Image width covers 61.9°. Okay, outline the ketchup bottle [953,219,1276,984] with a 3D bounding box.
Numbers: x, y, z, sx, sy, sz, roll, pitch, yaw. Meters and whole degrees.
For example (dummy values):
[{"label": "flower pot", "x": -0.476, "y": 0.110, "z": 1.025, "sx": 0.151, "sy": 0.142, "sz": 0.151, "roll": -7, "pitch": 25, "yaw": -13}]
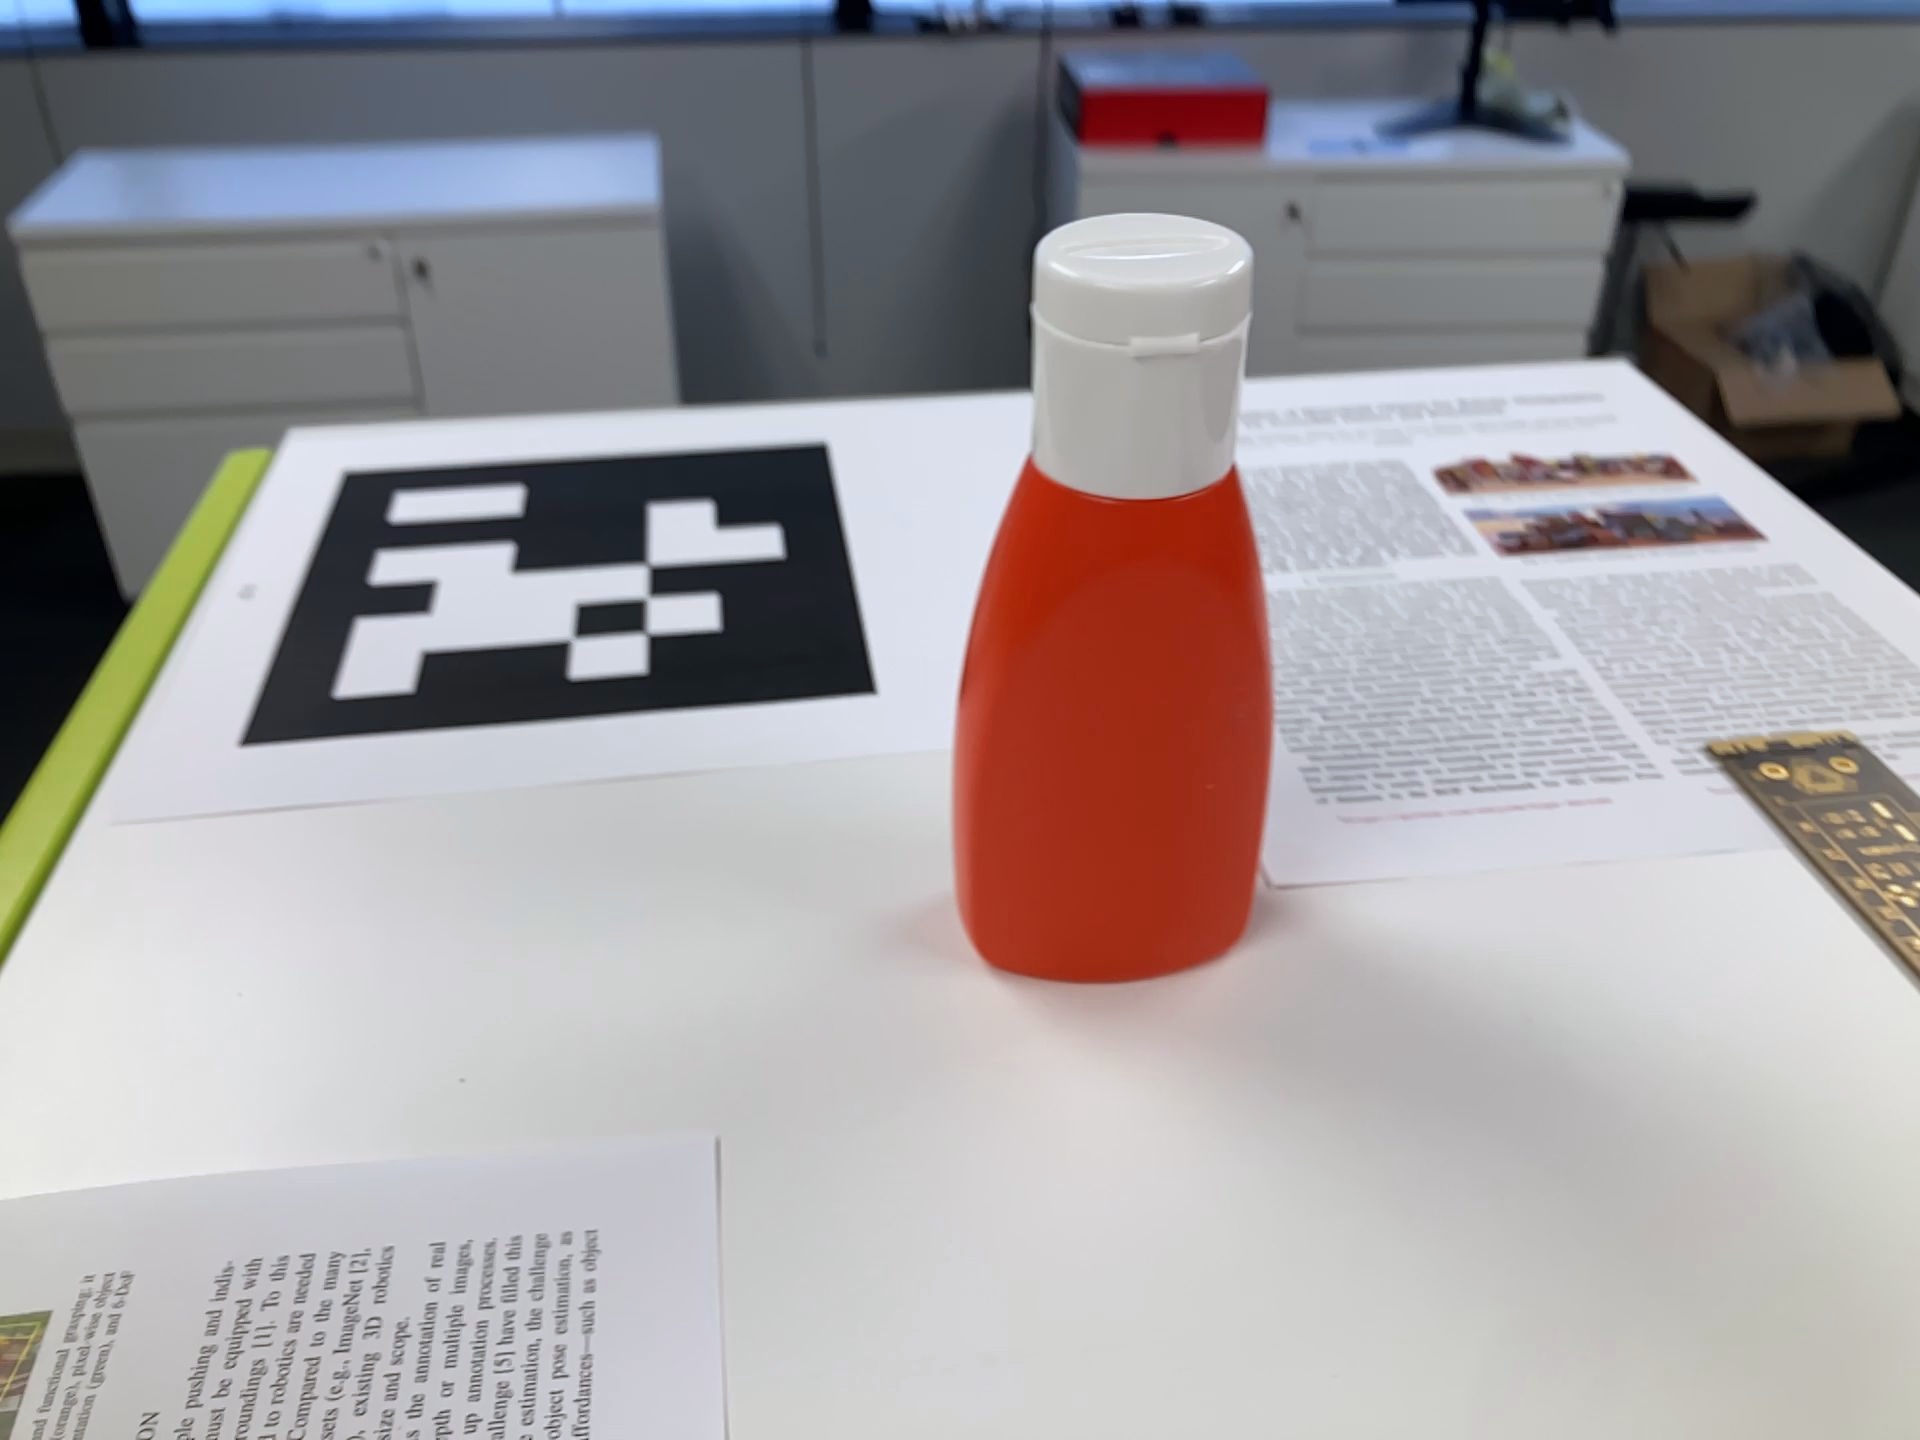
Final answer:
[{"label": "ketchup bottle", "x": 0.031, "y": -0.017, "z": 0.306, "sx": 0.065, "sy": 0.149, "sz": 0.043, "roll": -4, "pitch": 36, "yaw": -5}]
